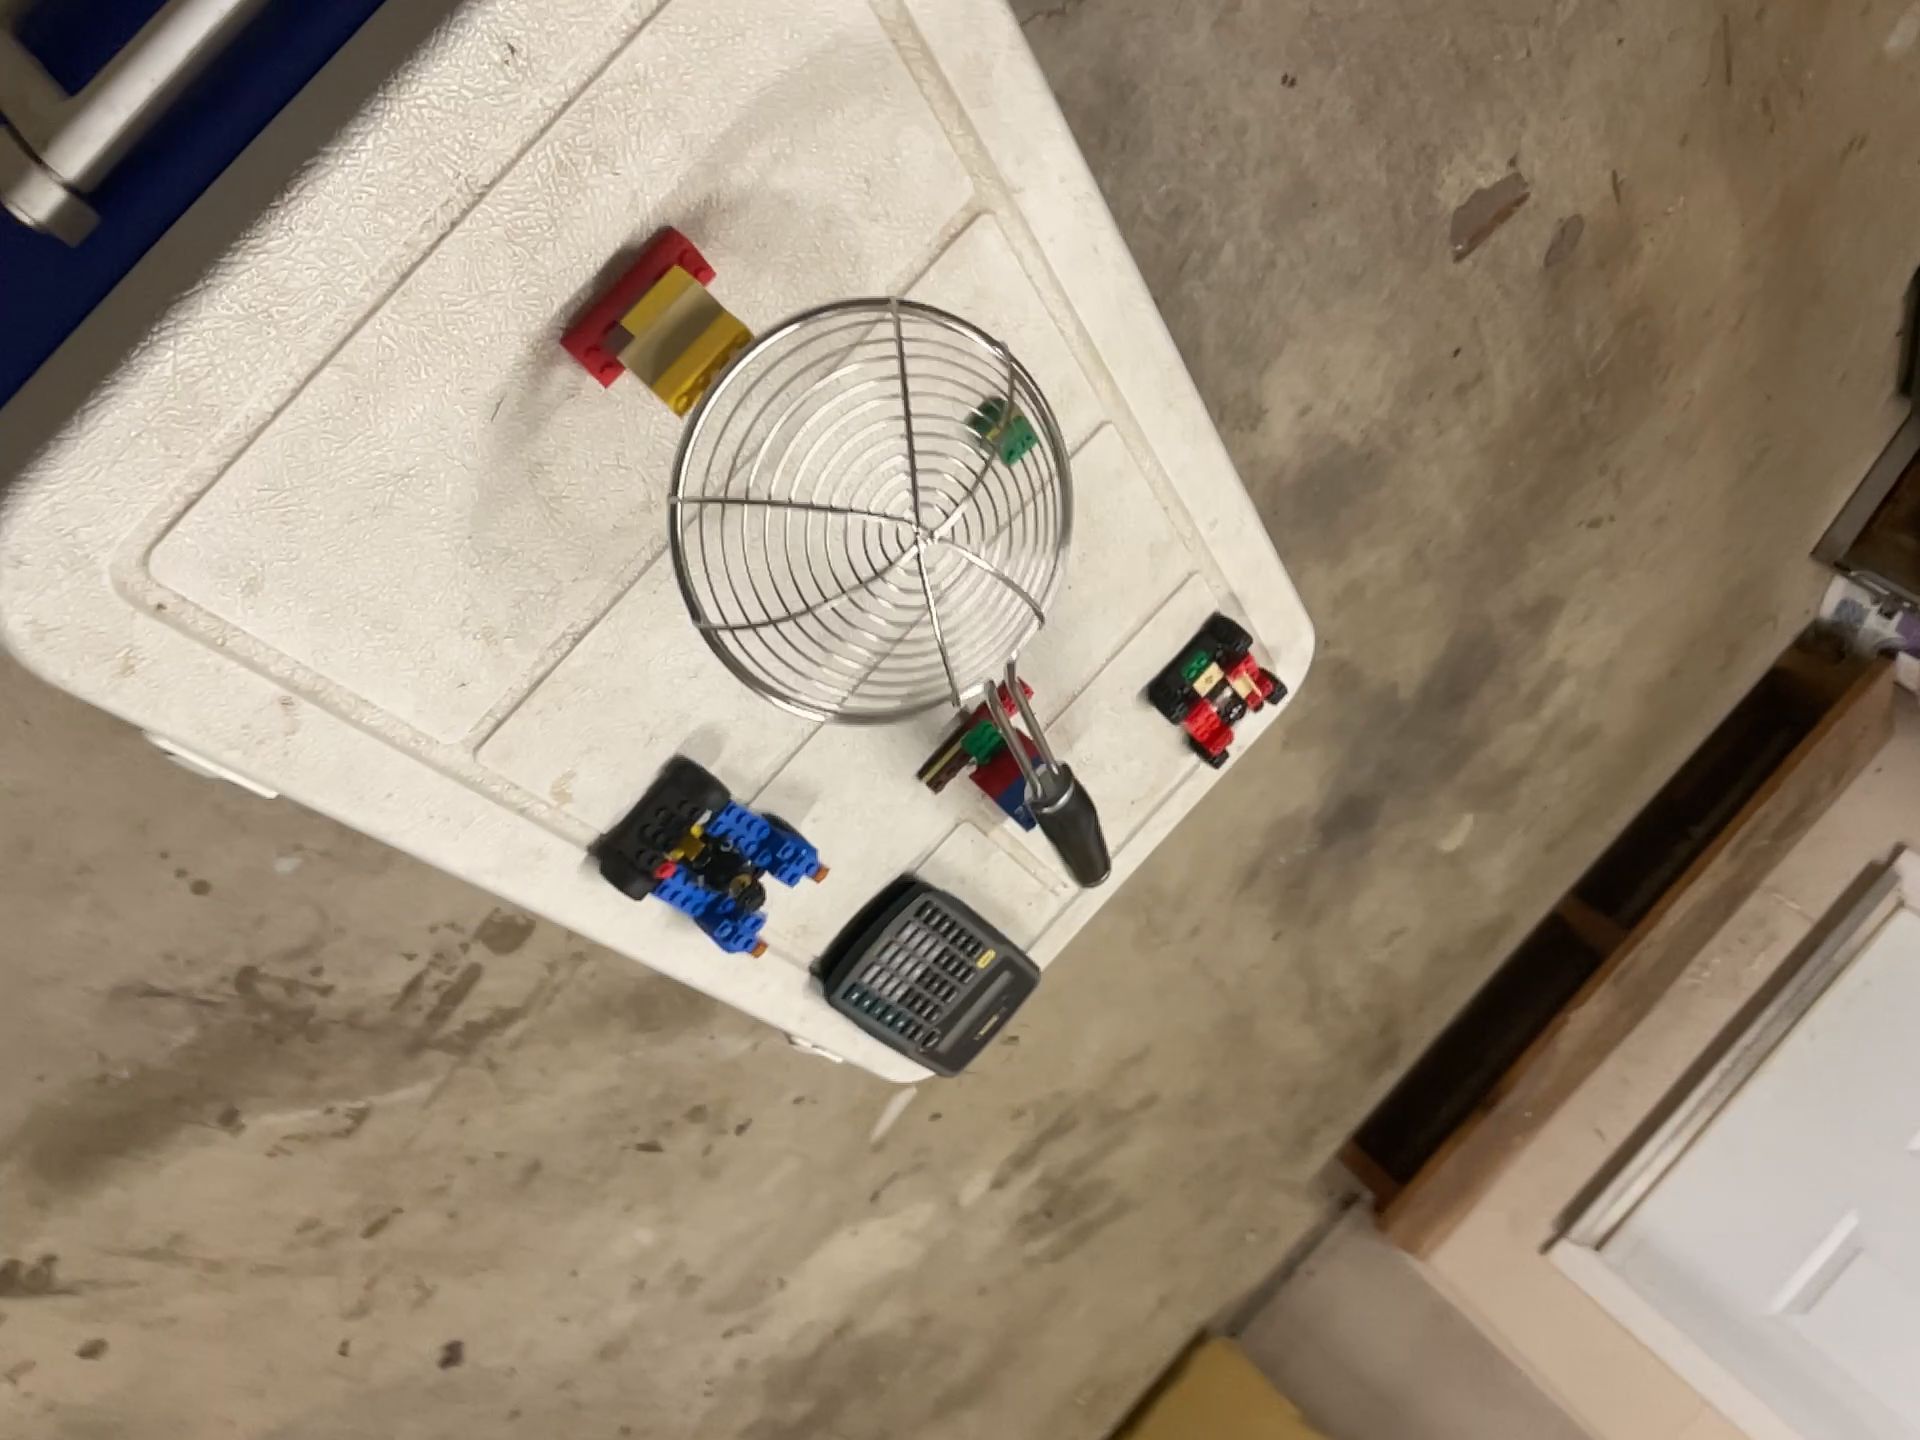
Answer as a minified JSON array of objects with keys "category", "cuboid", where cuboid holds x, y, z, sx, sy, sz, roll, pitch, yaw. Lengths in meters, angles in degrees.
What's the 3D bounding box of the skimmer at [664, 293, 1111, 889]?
[{"category":"skimmer","cuboid":[0.004,-0.014,0.593,0.127,0.090,0.363,-44,157,-6]}]
